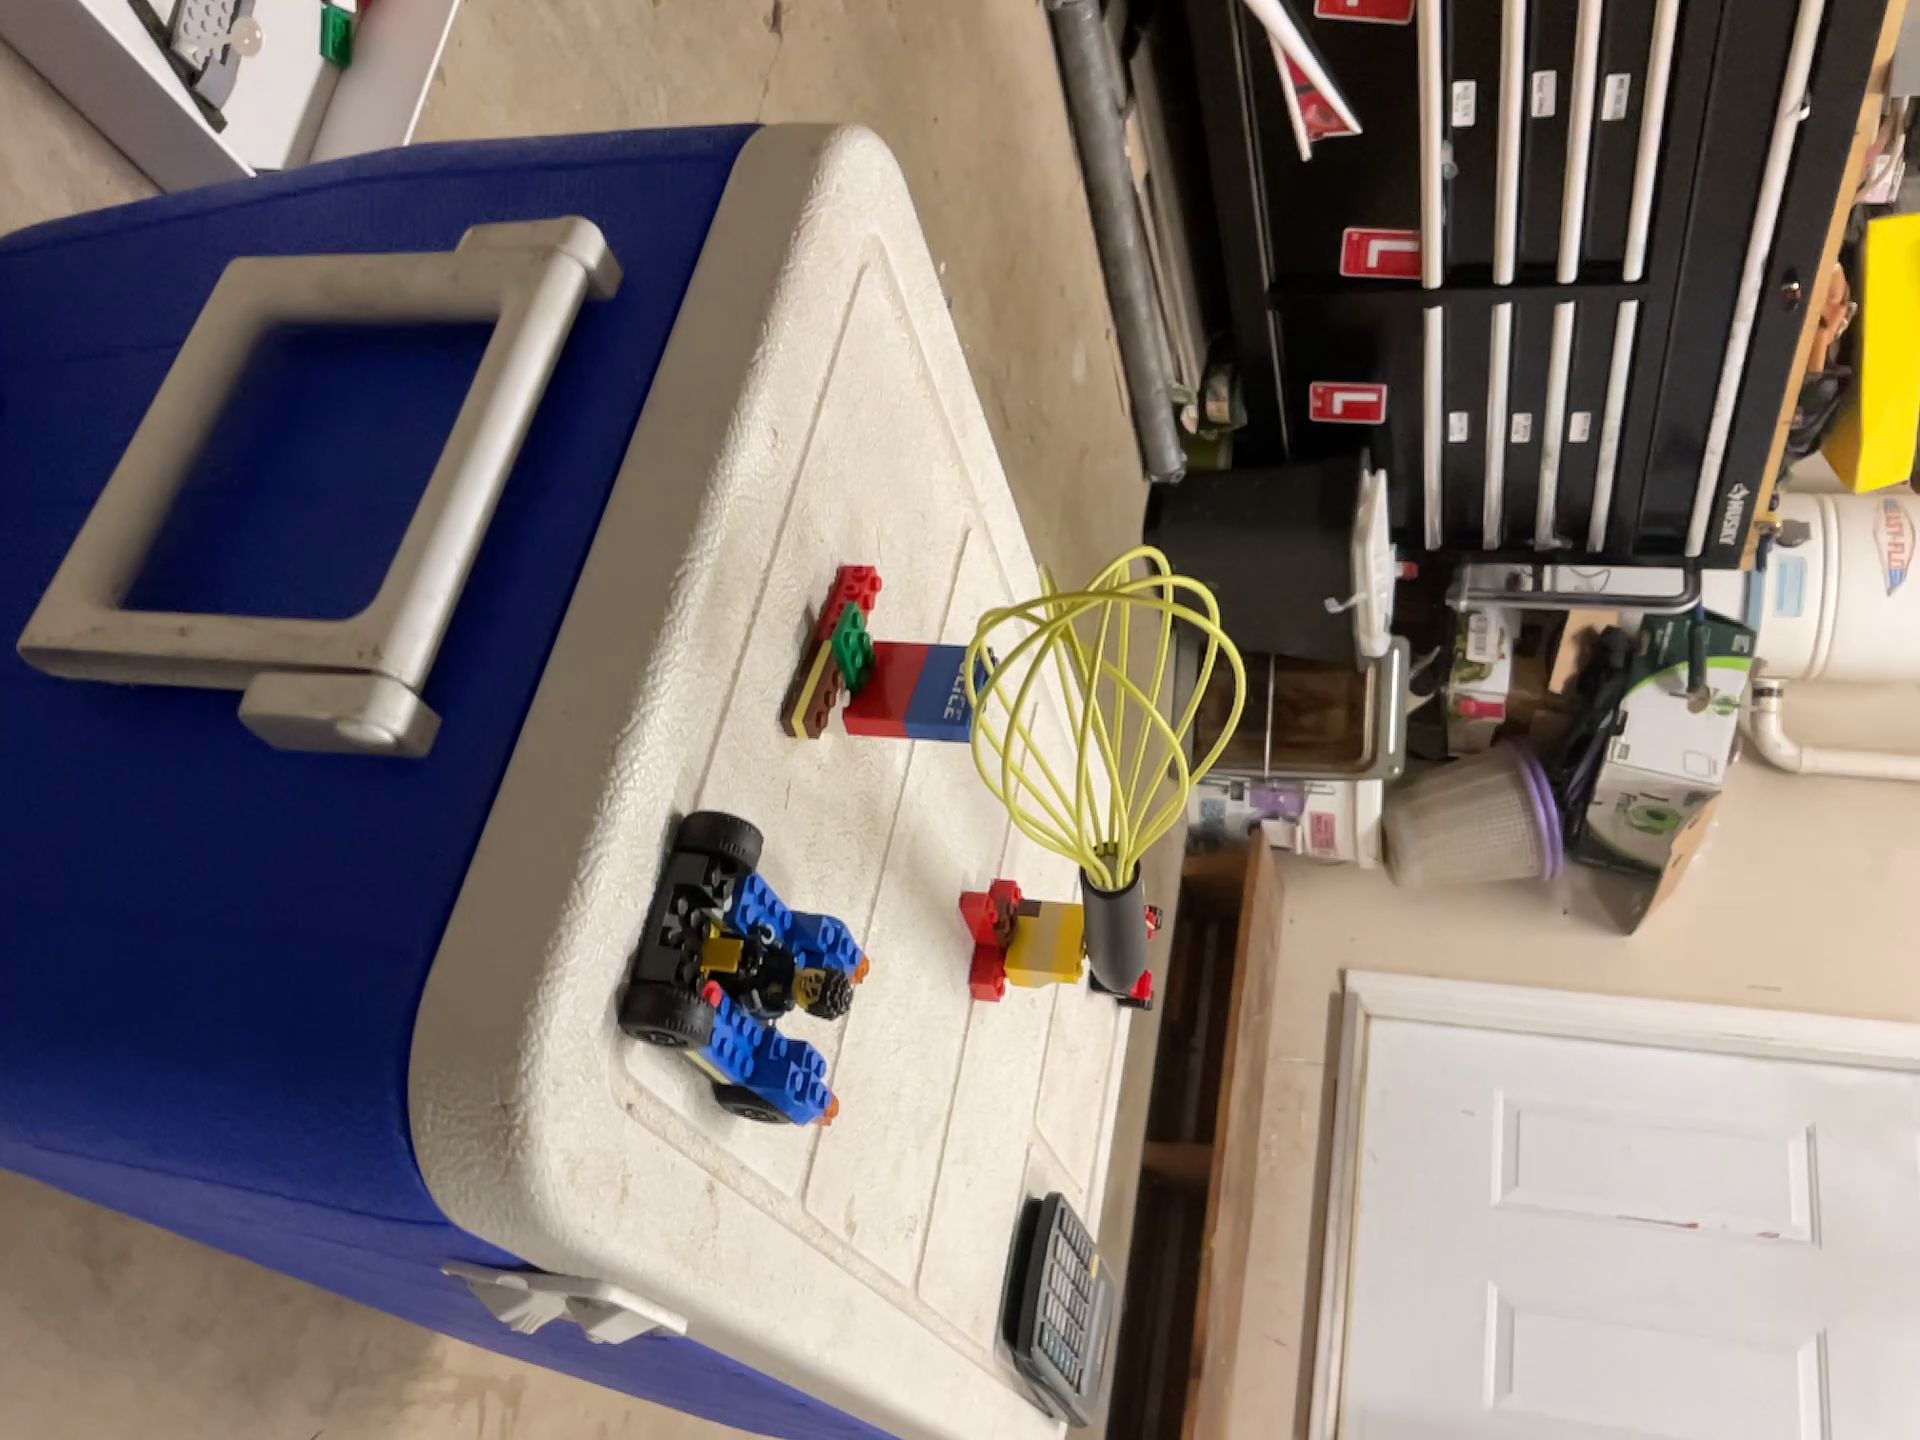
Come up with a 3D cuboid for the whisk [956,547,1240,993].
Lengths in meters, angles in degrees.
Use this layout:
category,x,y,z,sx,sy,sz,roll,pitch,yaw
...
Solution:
category,x,y,z,sx,sy,sz,roll,pitch,yaw
whisk,0.047,0.037,0.530,0.080,0.067,0.311,-32,154,-10
